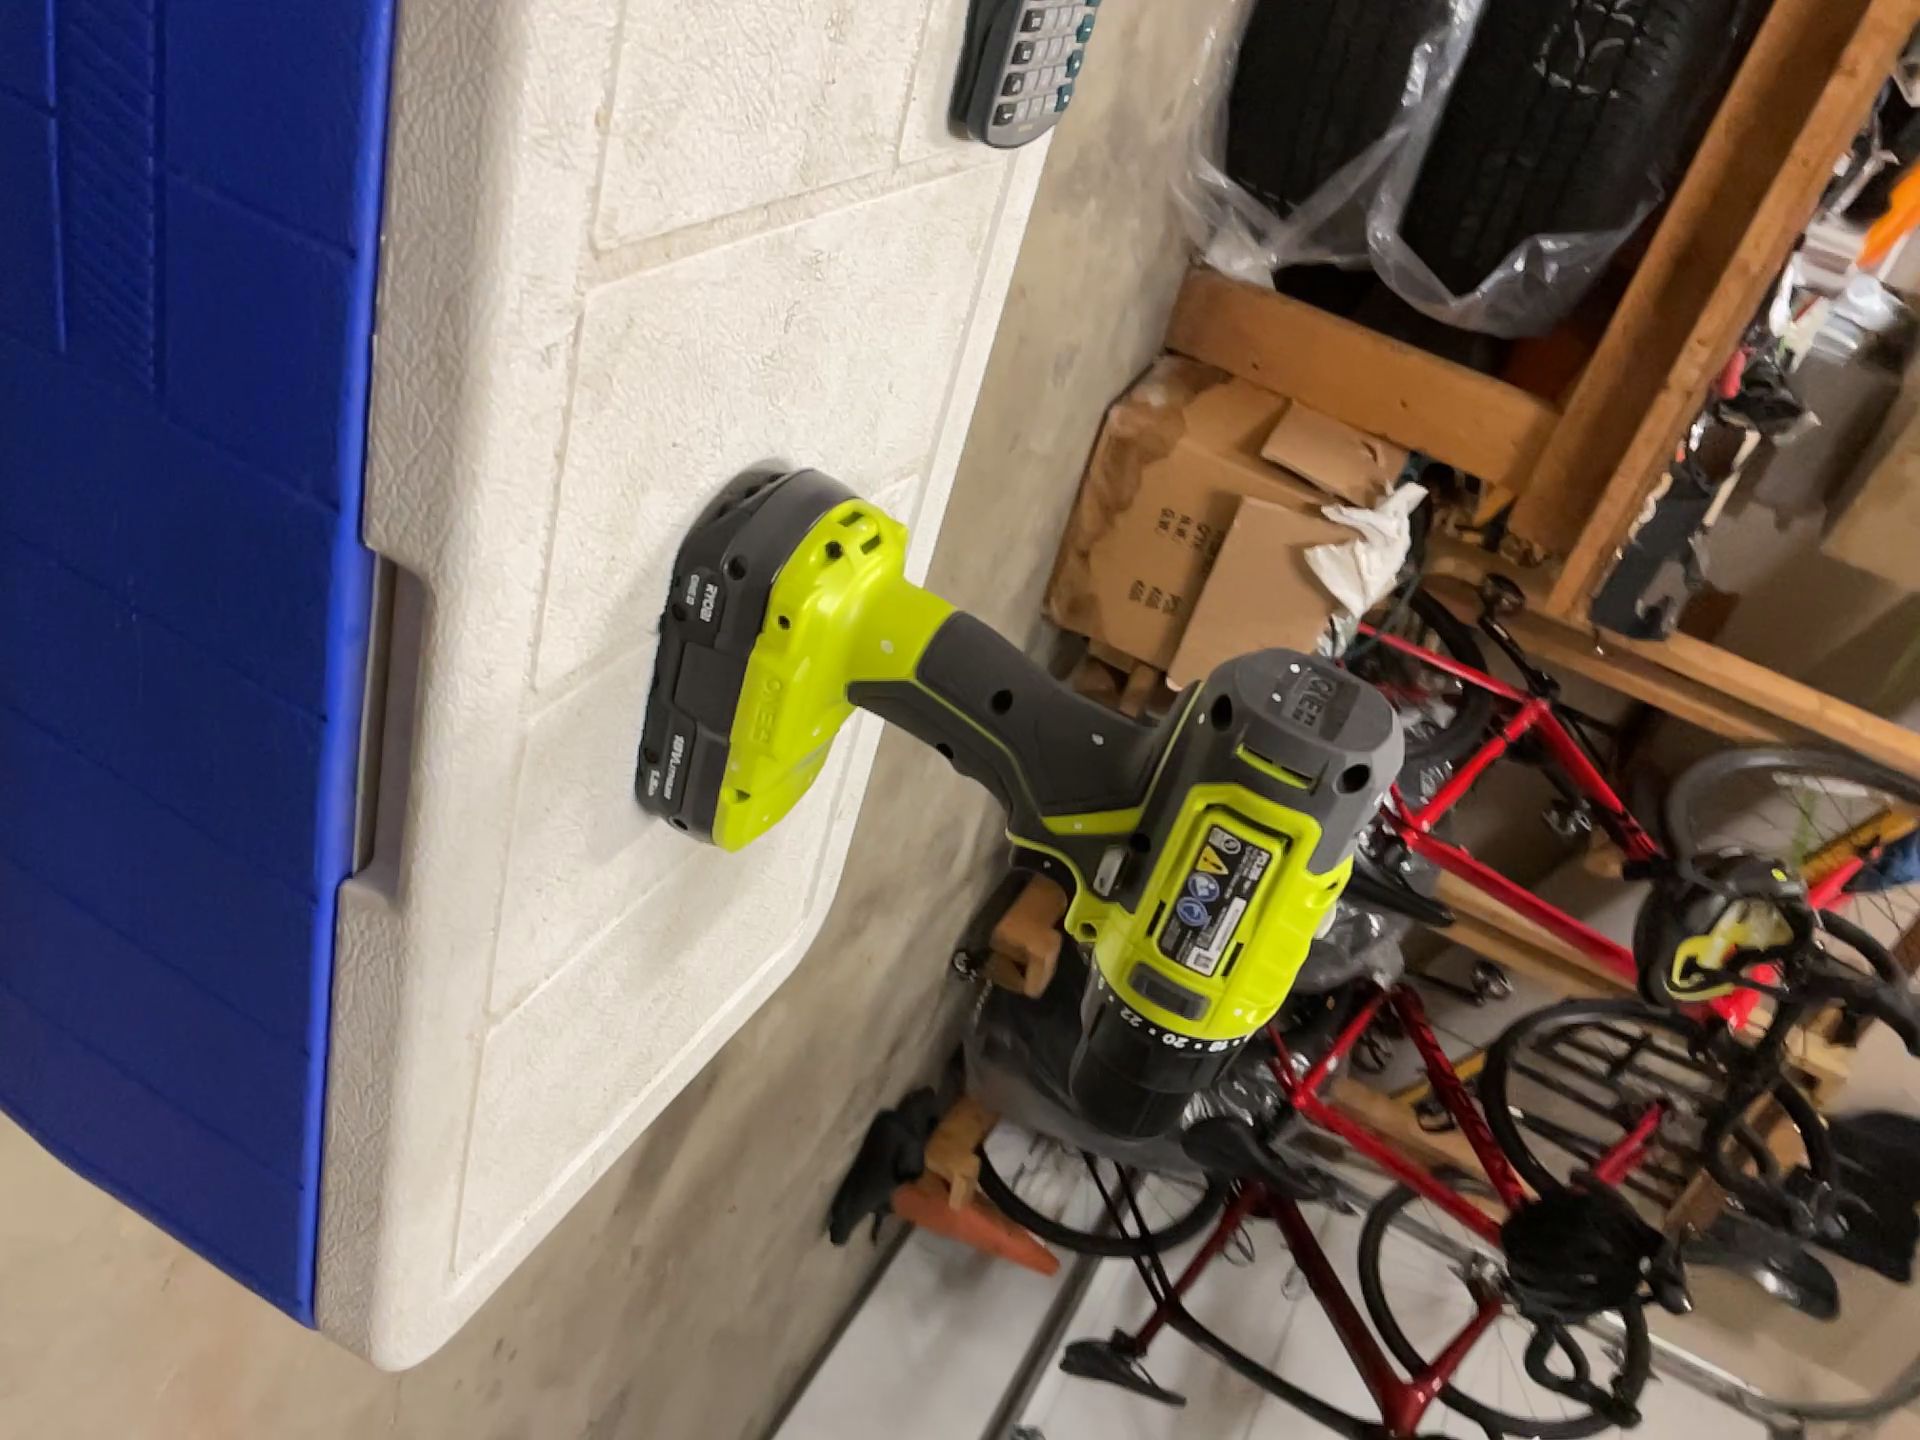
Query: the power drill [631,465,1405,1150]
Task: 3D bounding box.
[{"bbox_3d":[0.009,0.032,0.531,0.080,0.228,0.190,-45,159,-53],"label":"power drill"}]
